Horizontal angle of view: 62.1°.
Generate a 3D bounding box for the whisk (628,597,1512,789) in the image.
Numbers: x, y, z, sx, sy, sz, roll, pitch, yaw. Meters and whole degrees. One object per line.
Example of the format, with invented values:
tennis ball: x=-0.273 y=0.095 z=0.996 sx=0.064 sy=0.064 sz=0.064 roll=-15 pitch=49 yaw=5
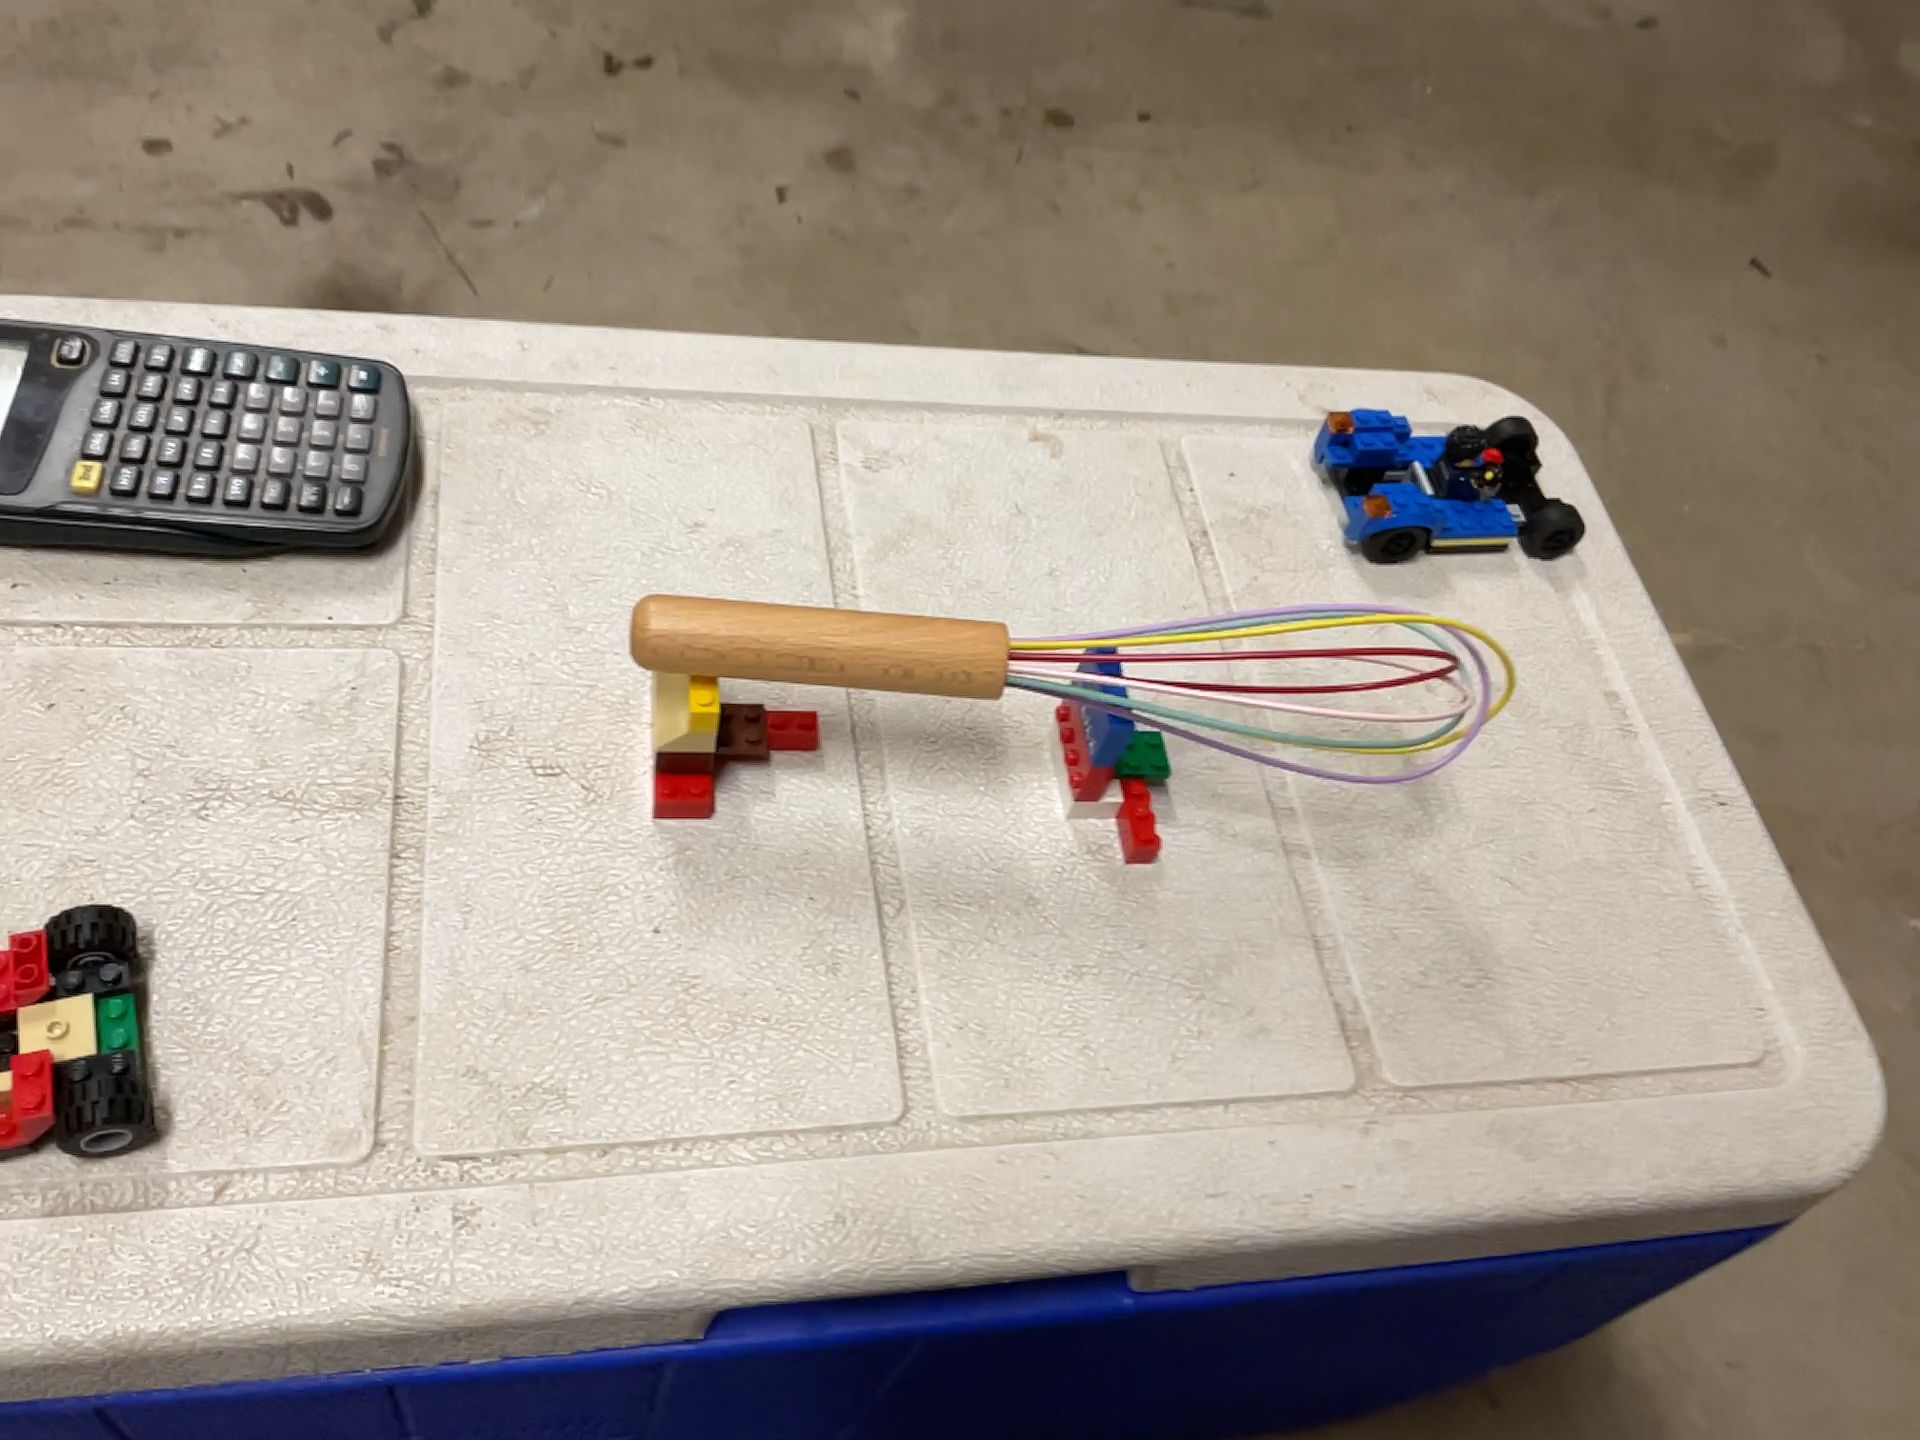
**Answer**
whisk: x=0.034 y=-0.018 z=0.437 sx=0.245 sy=0.047 sz=0.051 roll=4 pitch=66 yaw=-7
